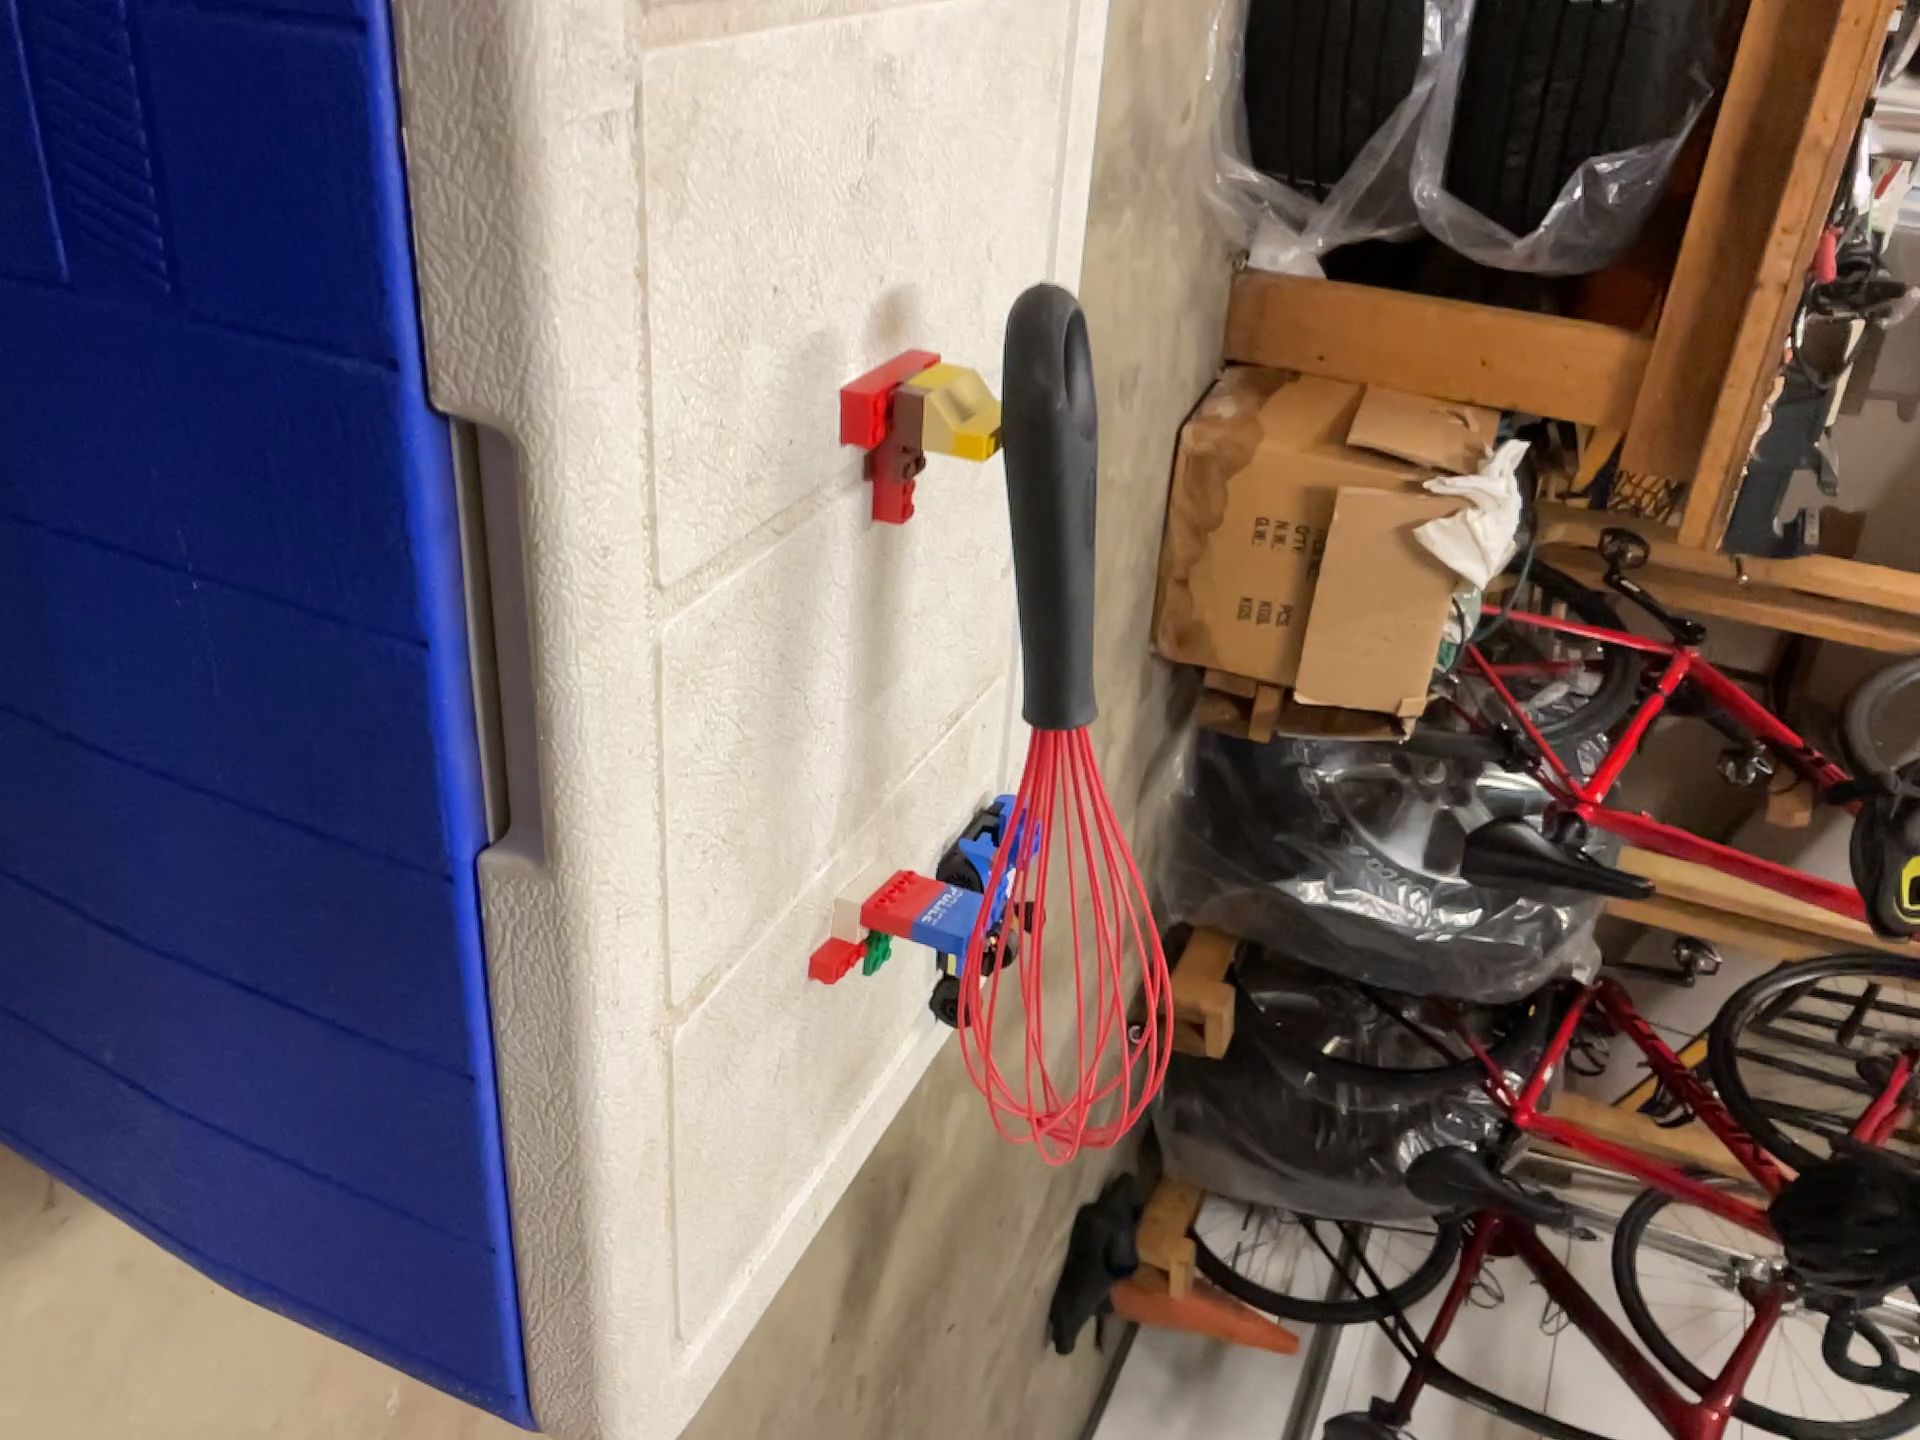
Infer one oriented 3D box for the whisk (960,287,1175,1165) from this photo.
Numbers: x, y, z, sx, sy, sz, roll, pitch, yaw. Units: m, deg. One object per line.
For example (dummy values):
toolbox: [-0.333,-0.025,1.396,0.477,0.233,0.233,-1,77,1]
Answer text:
whisk: [0.031,0.016,0.498,0.073,0.073,0.295,-41,134,-54]
